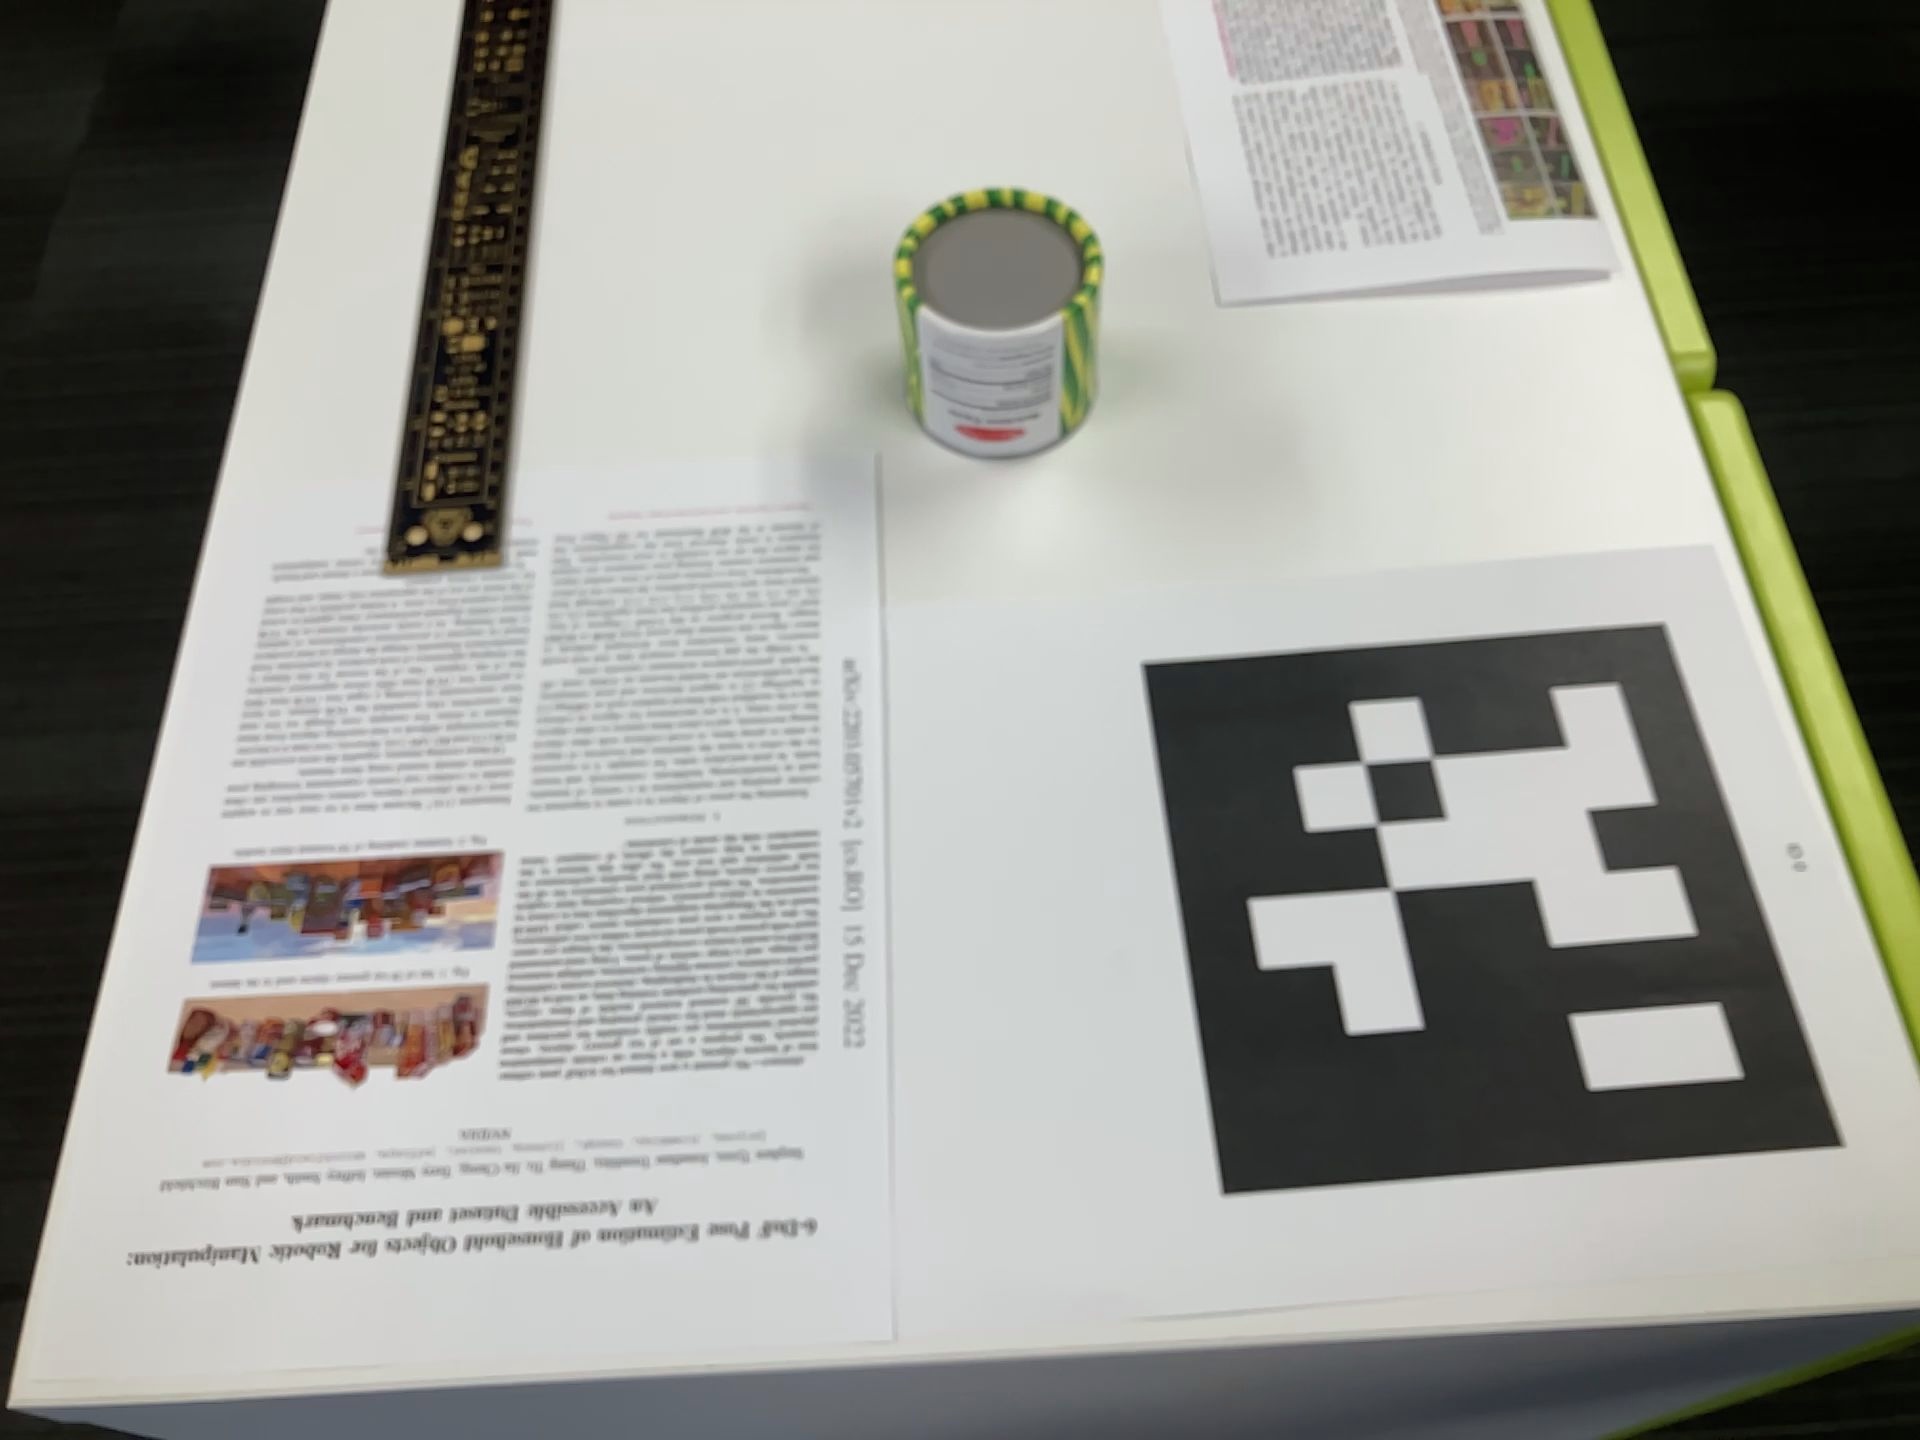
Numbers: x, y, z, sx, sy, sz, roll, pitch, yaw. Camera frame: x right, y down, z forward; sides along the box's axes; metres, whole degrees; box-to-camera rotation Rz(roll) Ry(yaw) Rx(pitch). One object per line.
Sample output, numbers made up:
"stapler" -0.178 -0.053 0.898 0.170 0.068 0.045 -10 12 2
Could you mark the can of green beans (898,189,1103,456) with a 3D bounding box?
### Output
"can of green beans" 0.014 -0.132 0.531 0.071 0.058 0.071 -1 60 2
